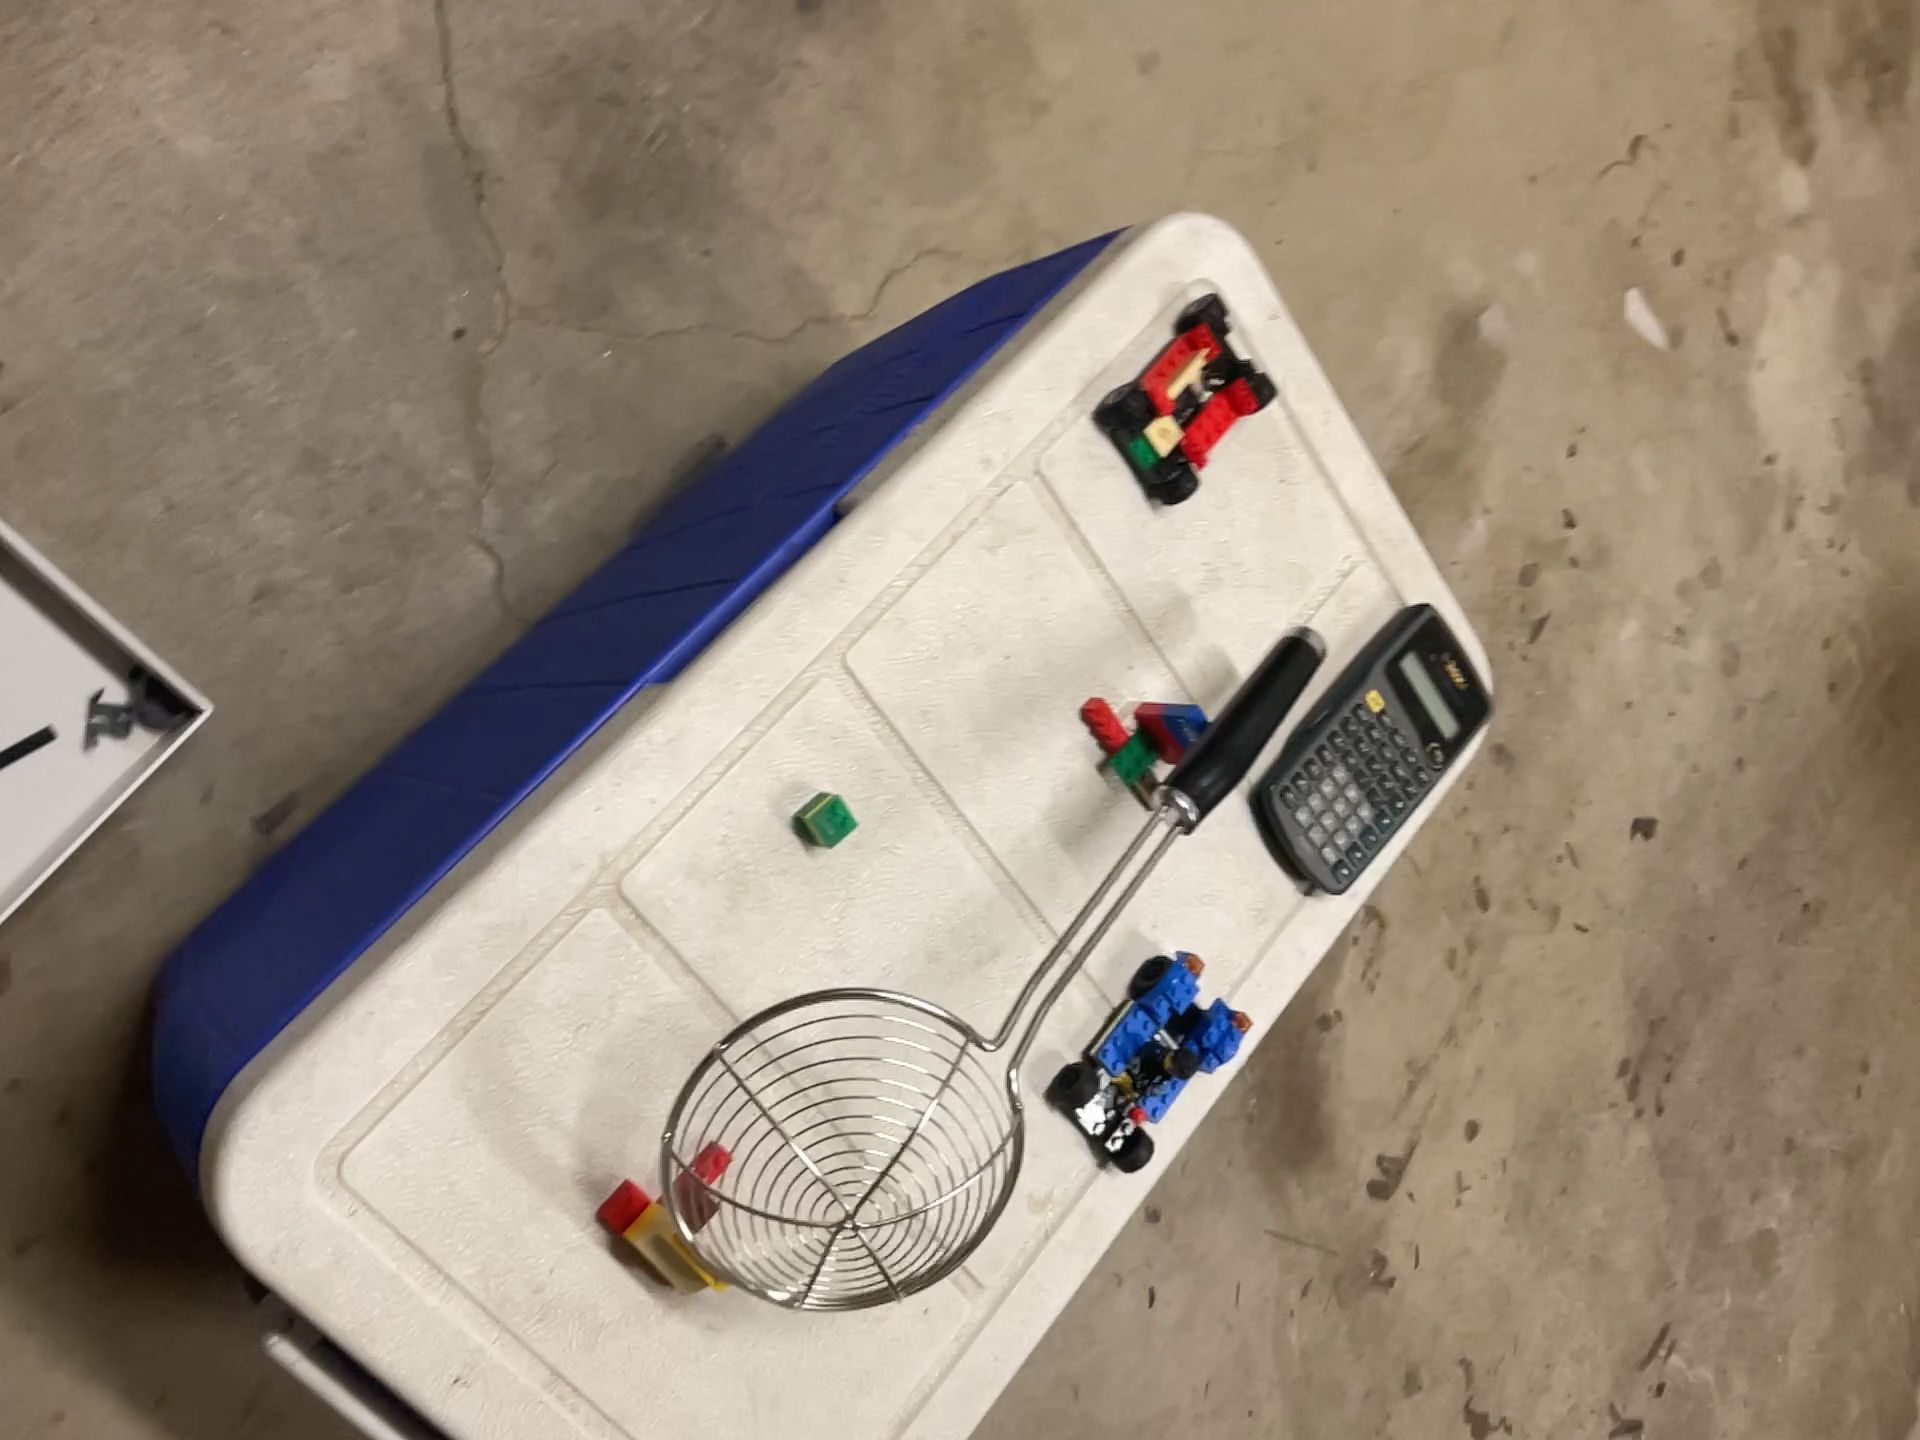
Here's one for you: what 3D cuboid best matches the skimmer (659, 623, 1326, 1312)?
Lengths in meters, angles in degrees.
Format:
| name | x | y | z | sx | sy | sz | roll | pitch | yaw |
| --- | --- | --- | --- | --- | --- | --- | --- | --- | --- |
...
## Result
| name | x | y | z | sx | sy | sz | roll | pitch | yaw |
| --- | --- | --- | --- | --- | --- | --- | --- | --- | --- |
| skimmer | 0.033 | 0.075 | 0.638 | 0.364 | 0.090 | 0.127 | -47 | 115 | -35 |
